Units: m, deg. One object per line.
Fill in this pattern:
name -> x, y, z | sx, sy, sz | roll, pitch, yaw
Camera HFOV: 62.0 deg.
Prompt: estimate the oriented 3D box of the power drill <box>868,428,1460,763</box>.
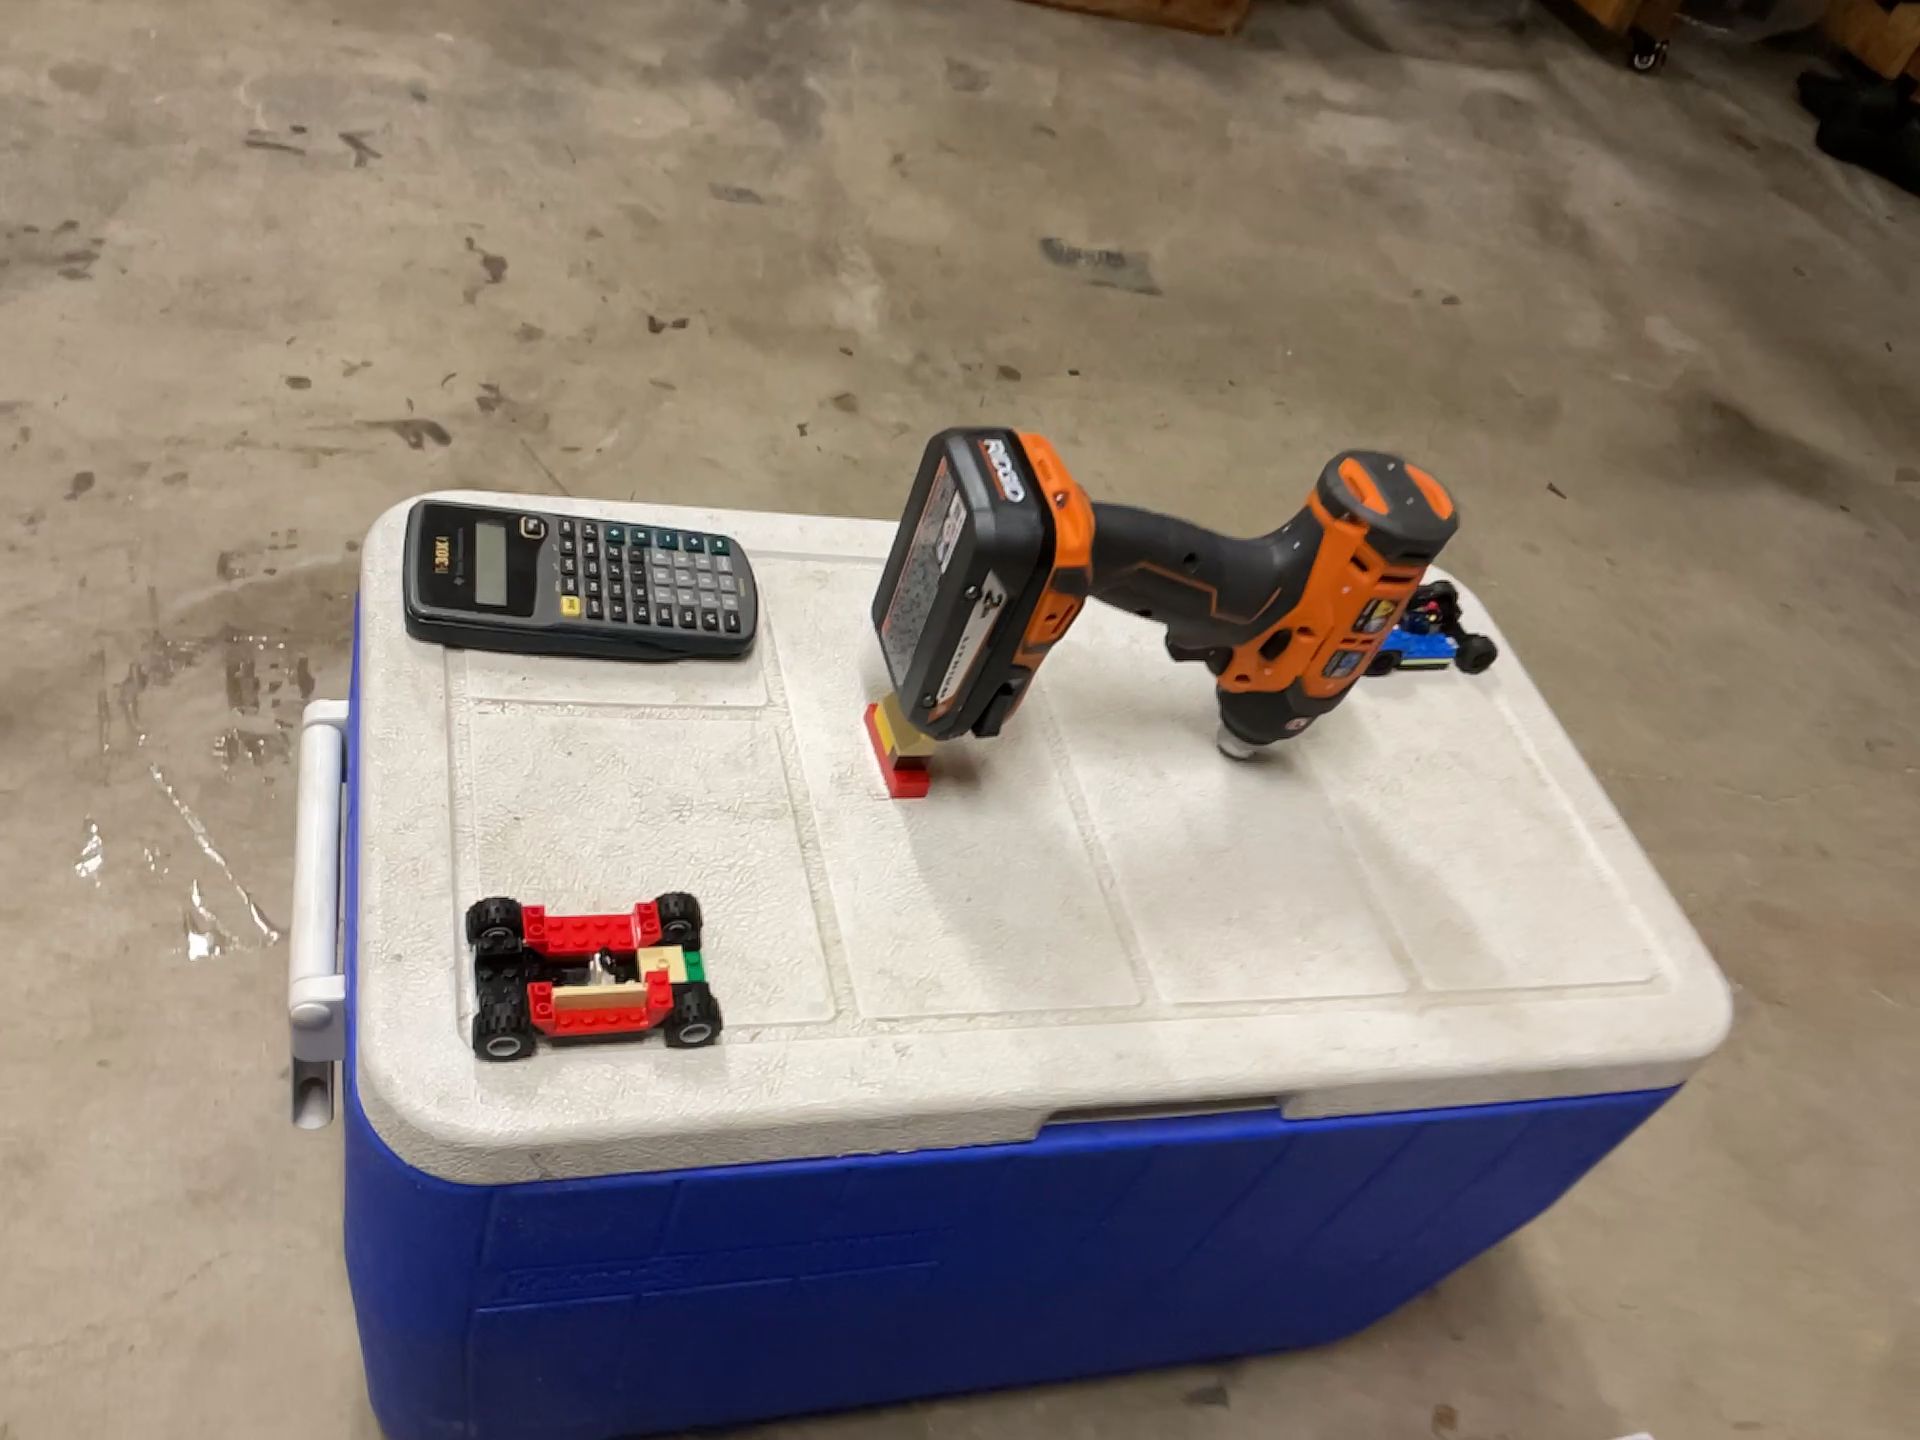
power drill -> 0.082, -0.042, 0.685 | 0.226, 0.164, 0.084 | 1, 46, -23
